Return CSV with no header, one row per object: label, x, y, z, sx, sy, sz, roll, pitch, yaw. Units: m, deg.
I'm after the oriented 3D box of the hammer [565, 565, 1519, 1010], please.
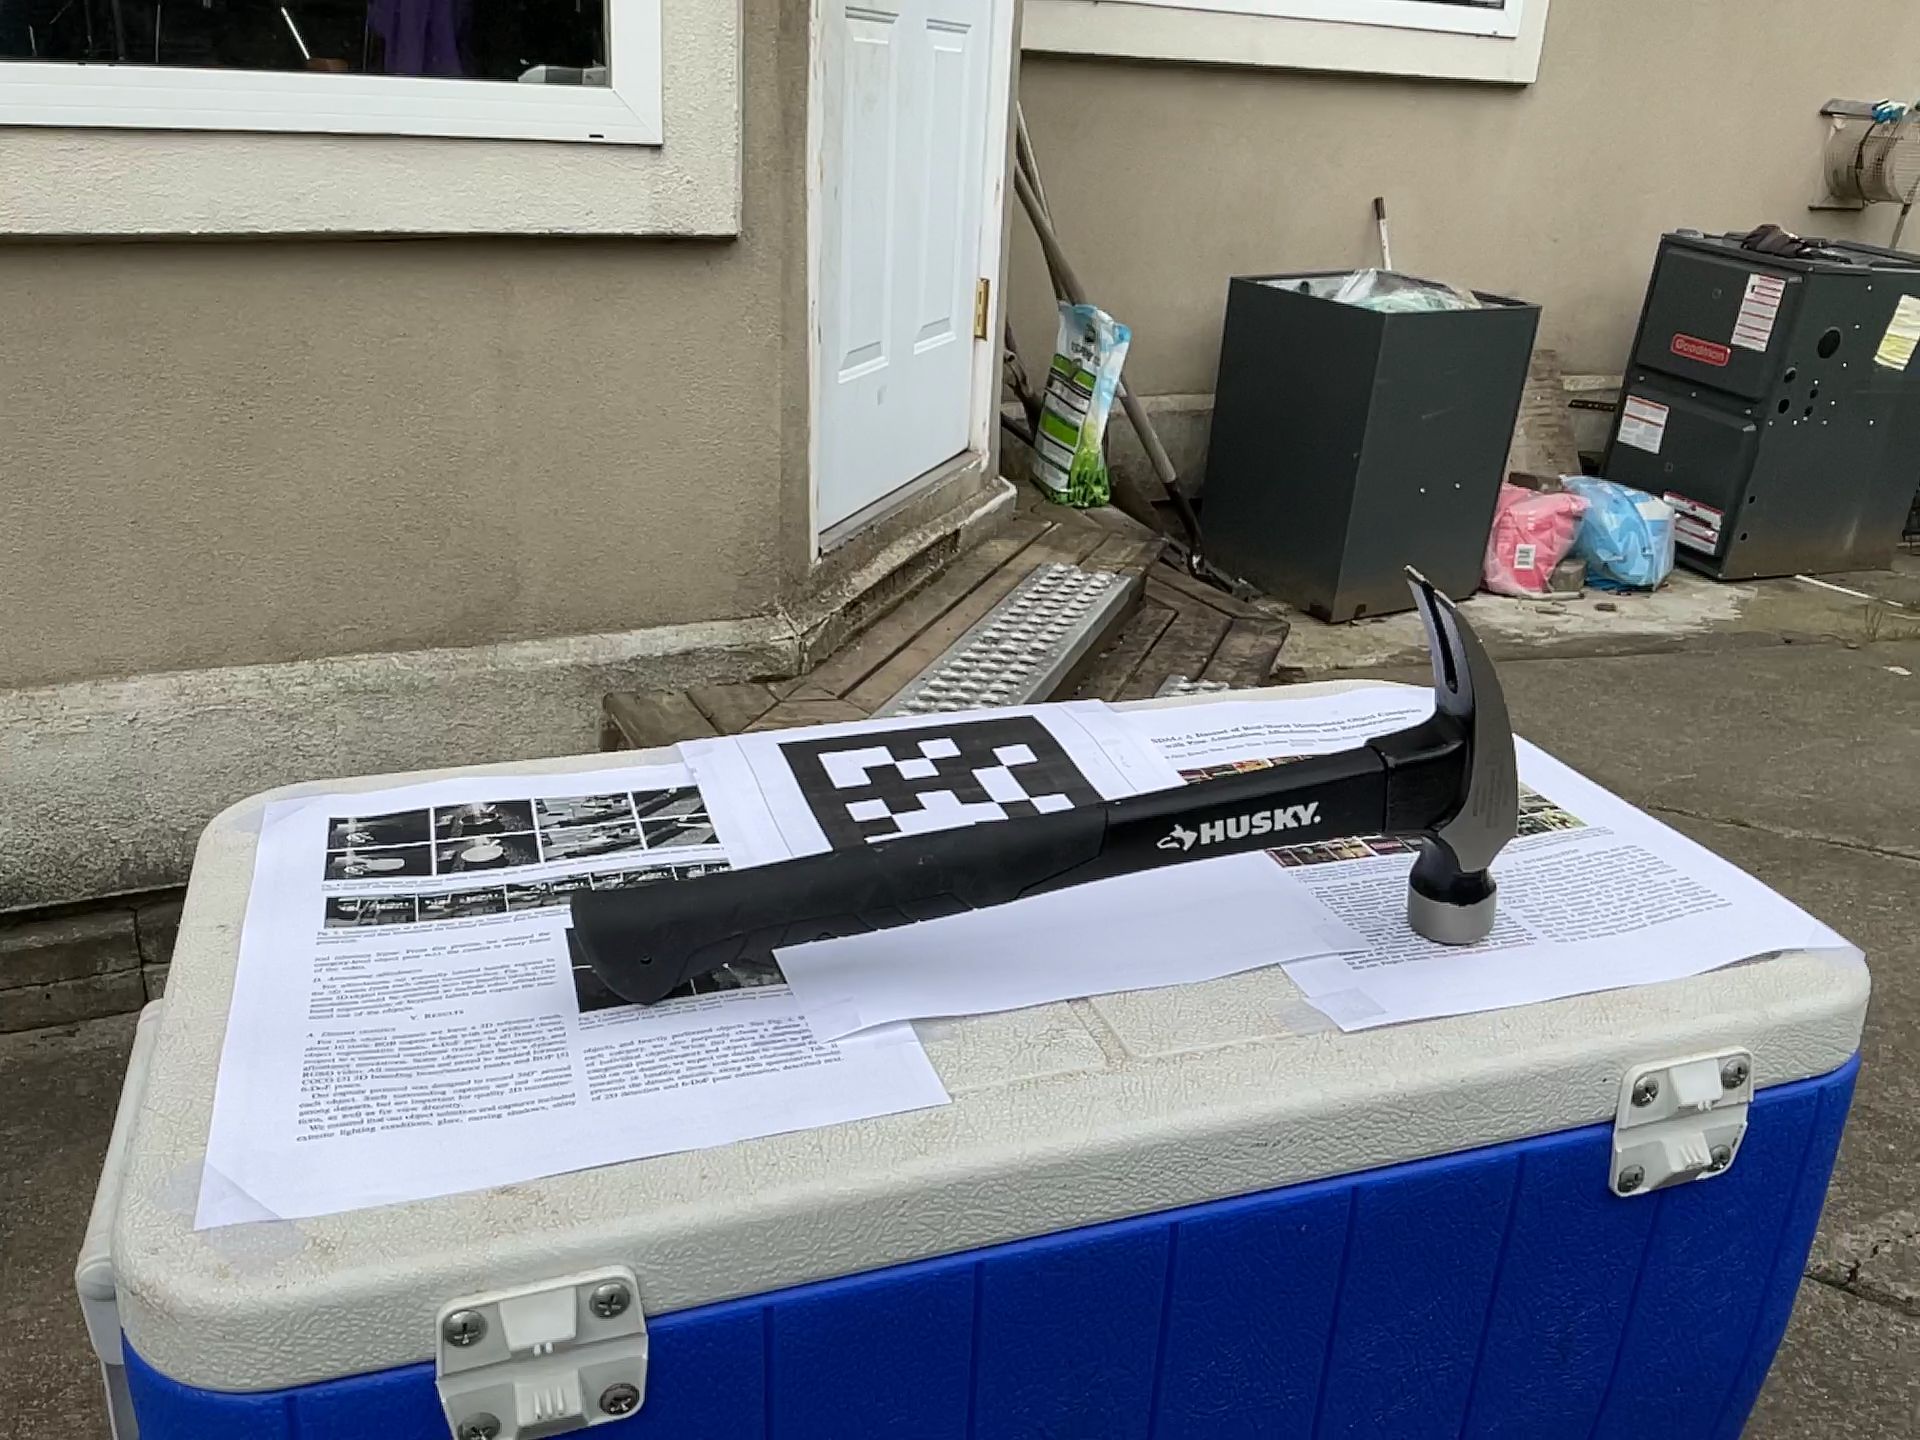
hammer,0.034,0.042,0.554,0.334,0.146,0.035,-10,29,-8
